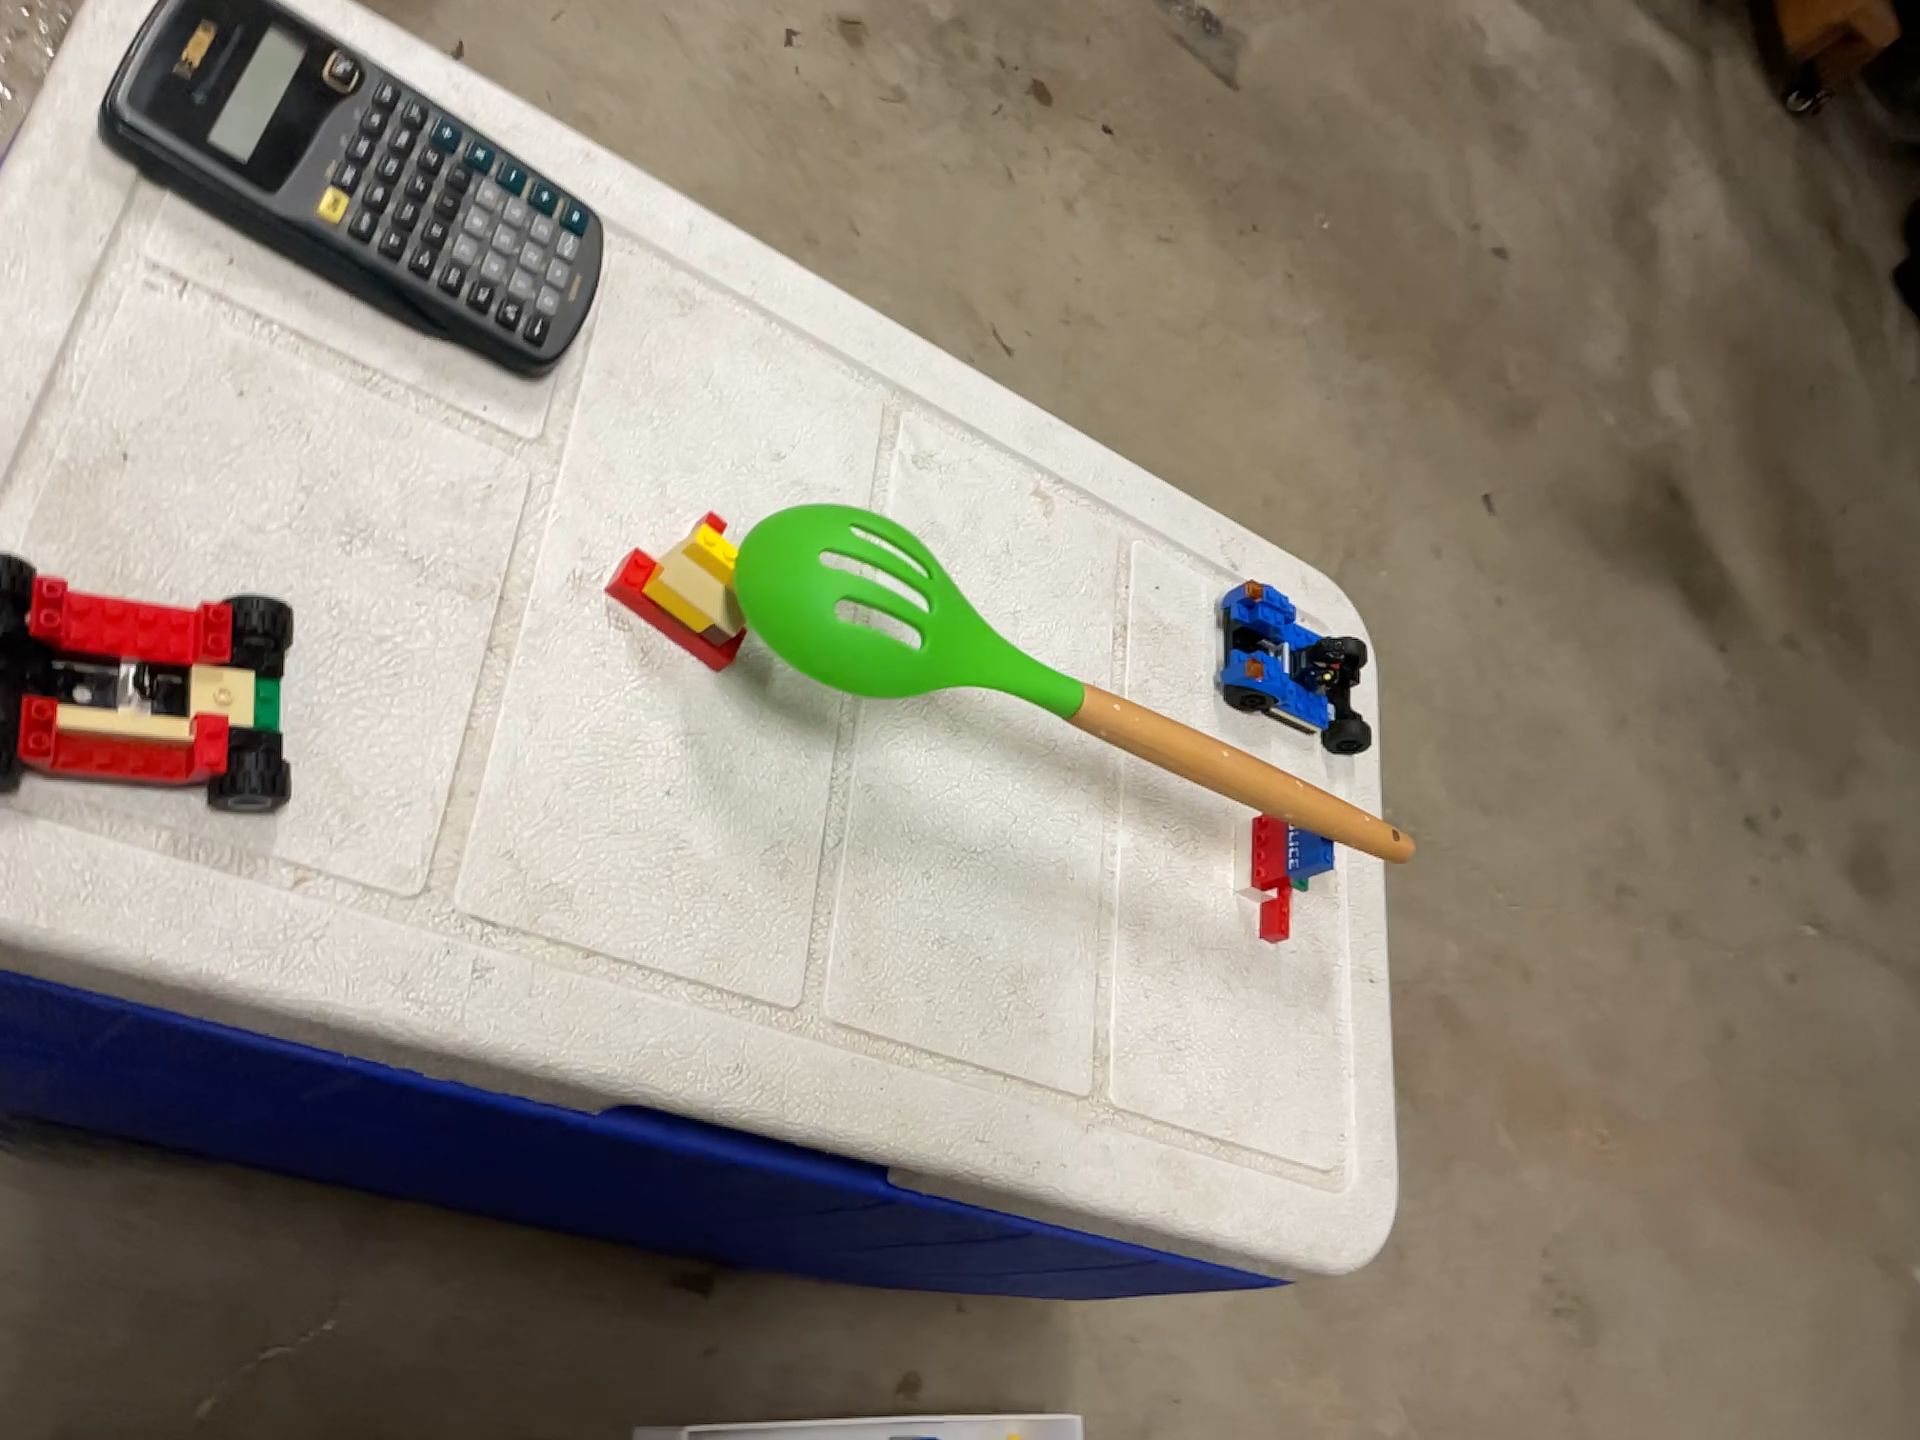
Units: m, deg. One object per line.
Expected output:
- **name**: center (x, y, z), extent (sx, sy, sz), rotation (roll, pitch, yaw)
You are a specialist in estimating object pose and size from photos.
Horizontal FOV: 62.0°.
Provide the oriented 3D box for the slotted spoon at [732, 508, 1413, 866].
- **slotted spoon**: center (0.060, 0.000, 0.582), extent (0.313, 0.031, 0.070), rotation (23, 57, -31)
